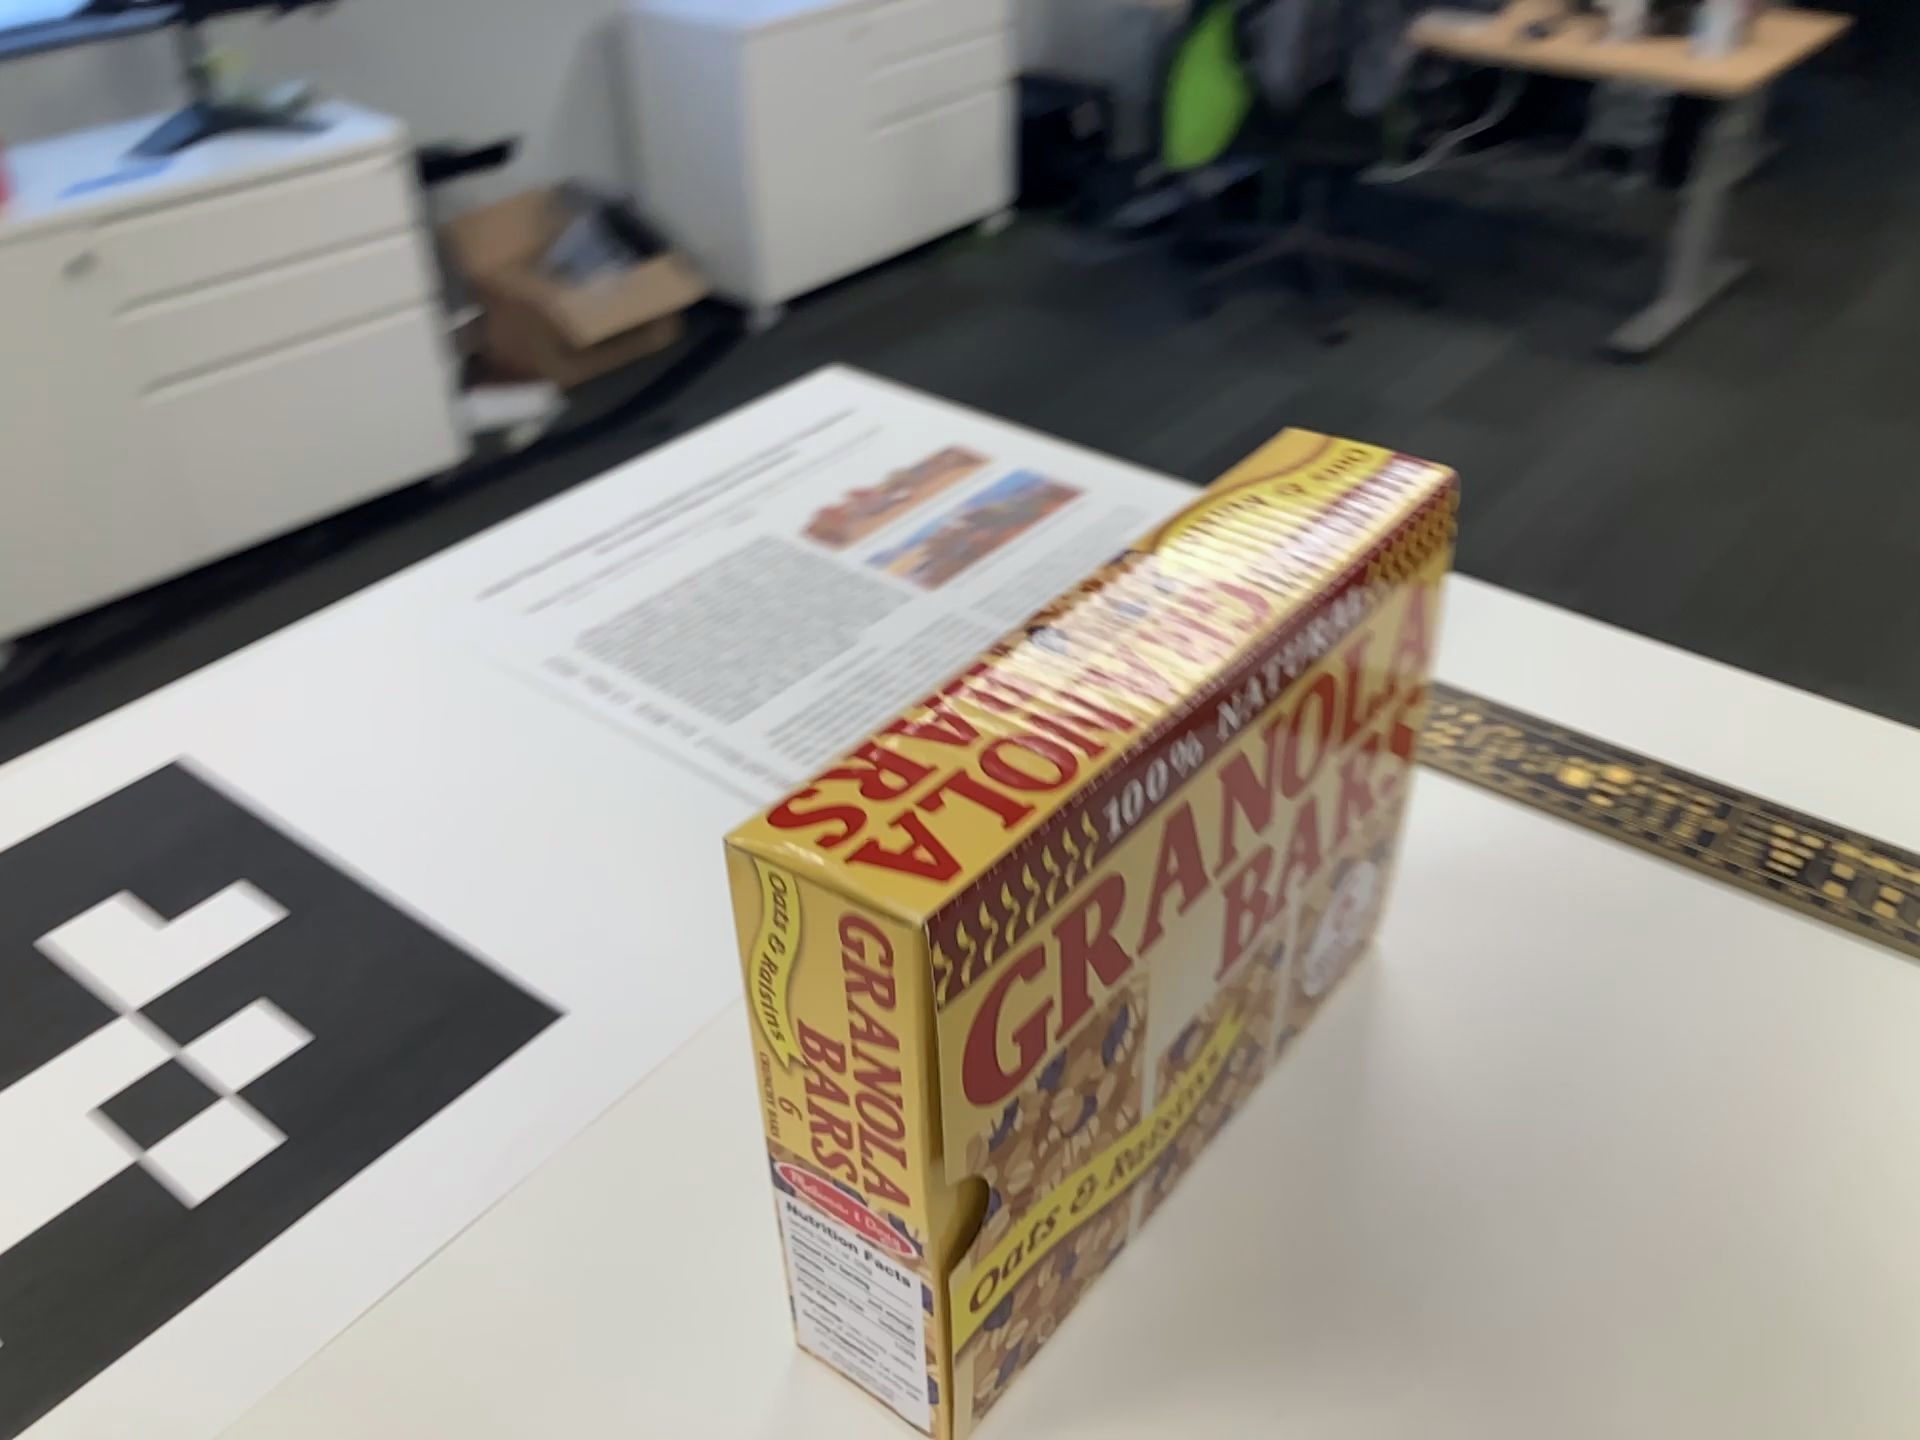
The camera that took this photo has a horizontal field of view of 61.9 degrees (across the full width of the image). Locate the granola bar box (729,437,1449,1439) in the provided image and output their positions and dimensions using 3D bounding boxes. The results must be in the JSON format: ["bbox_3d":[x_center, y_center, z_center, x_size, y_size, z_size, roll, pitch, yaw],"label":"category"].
[{"bbox_3d":[0.034,0.034,0.305,0.039,0.124,0.165,23,42,32],"label":"granola bar box"}]
